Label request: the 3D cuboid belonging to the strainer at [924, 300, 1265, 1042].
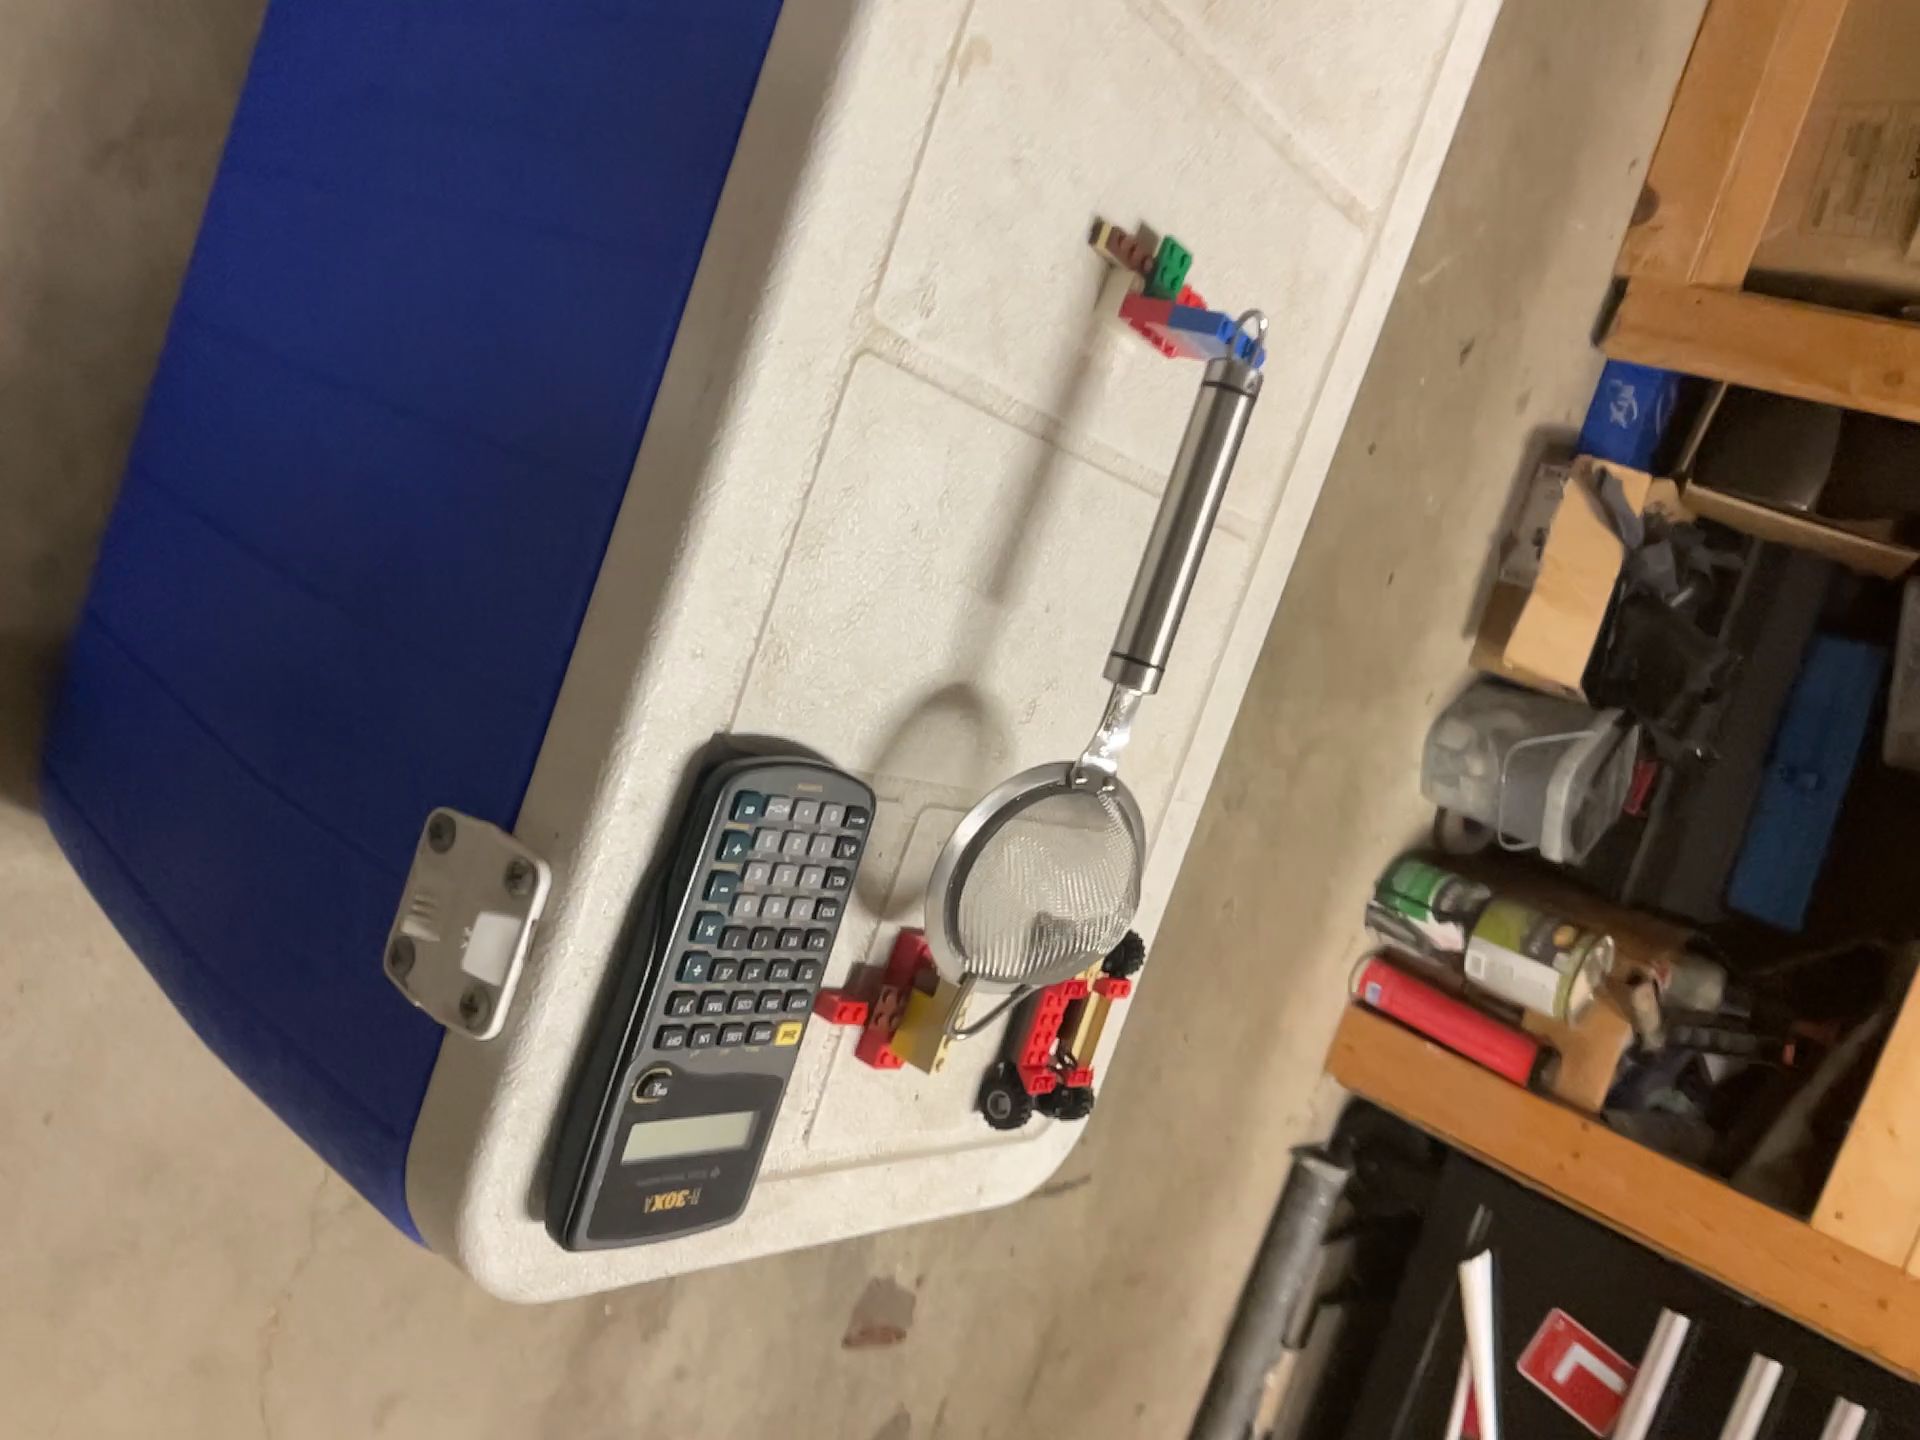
[{"bbox_3d":[0.052,-0.010,0.509,0.086,0.050,0.258,16,94,-38],"label":"strainer"}]
